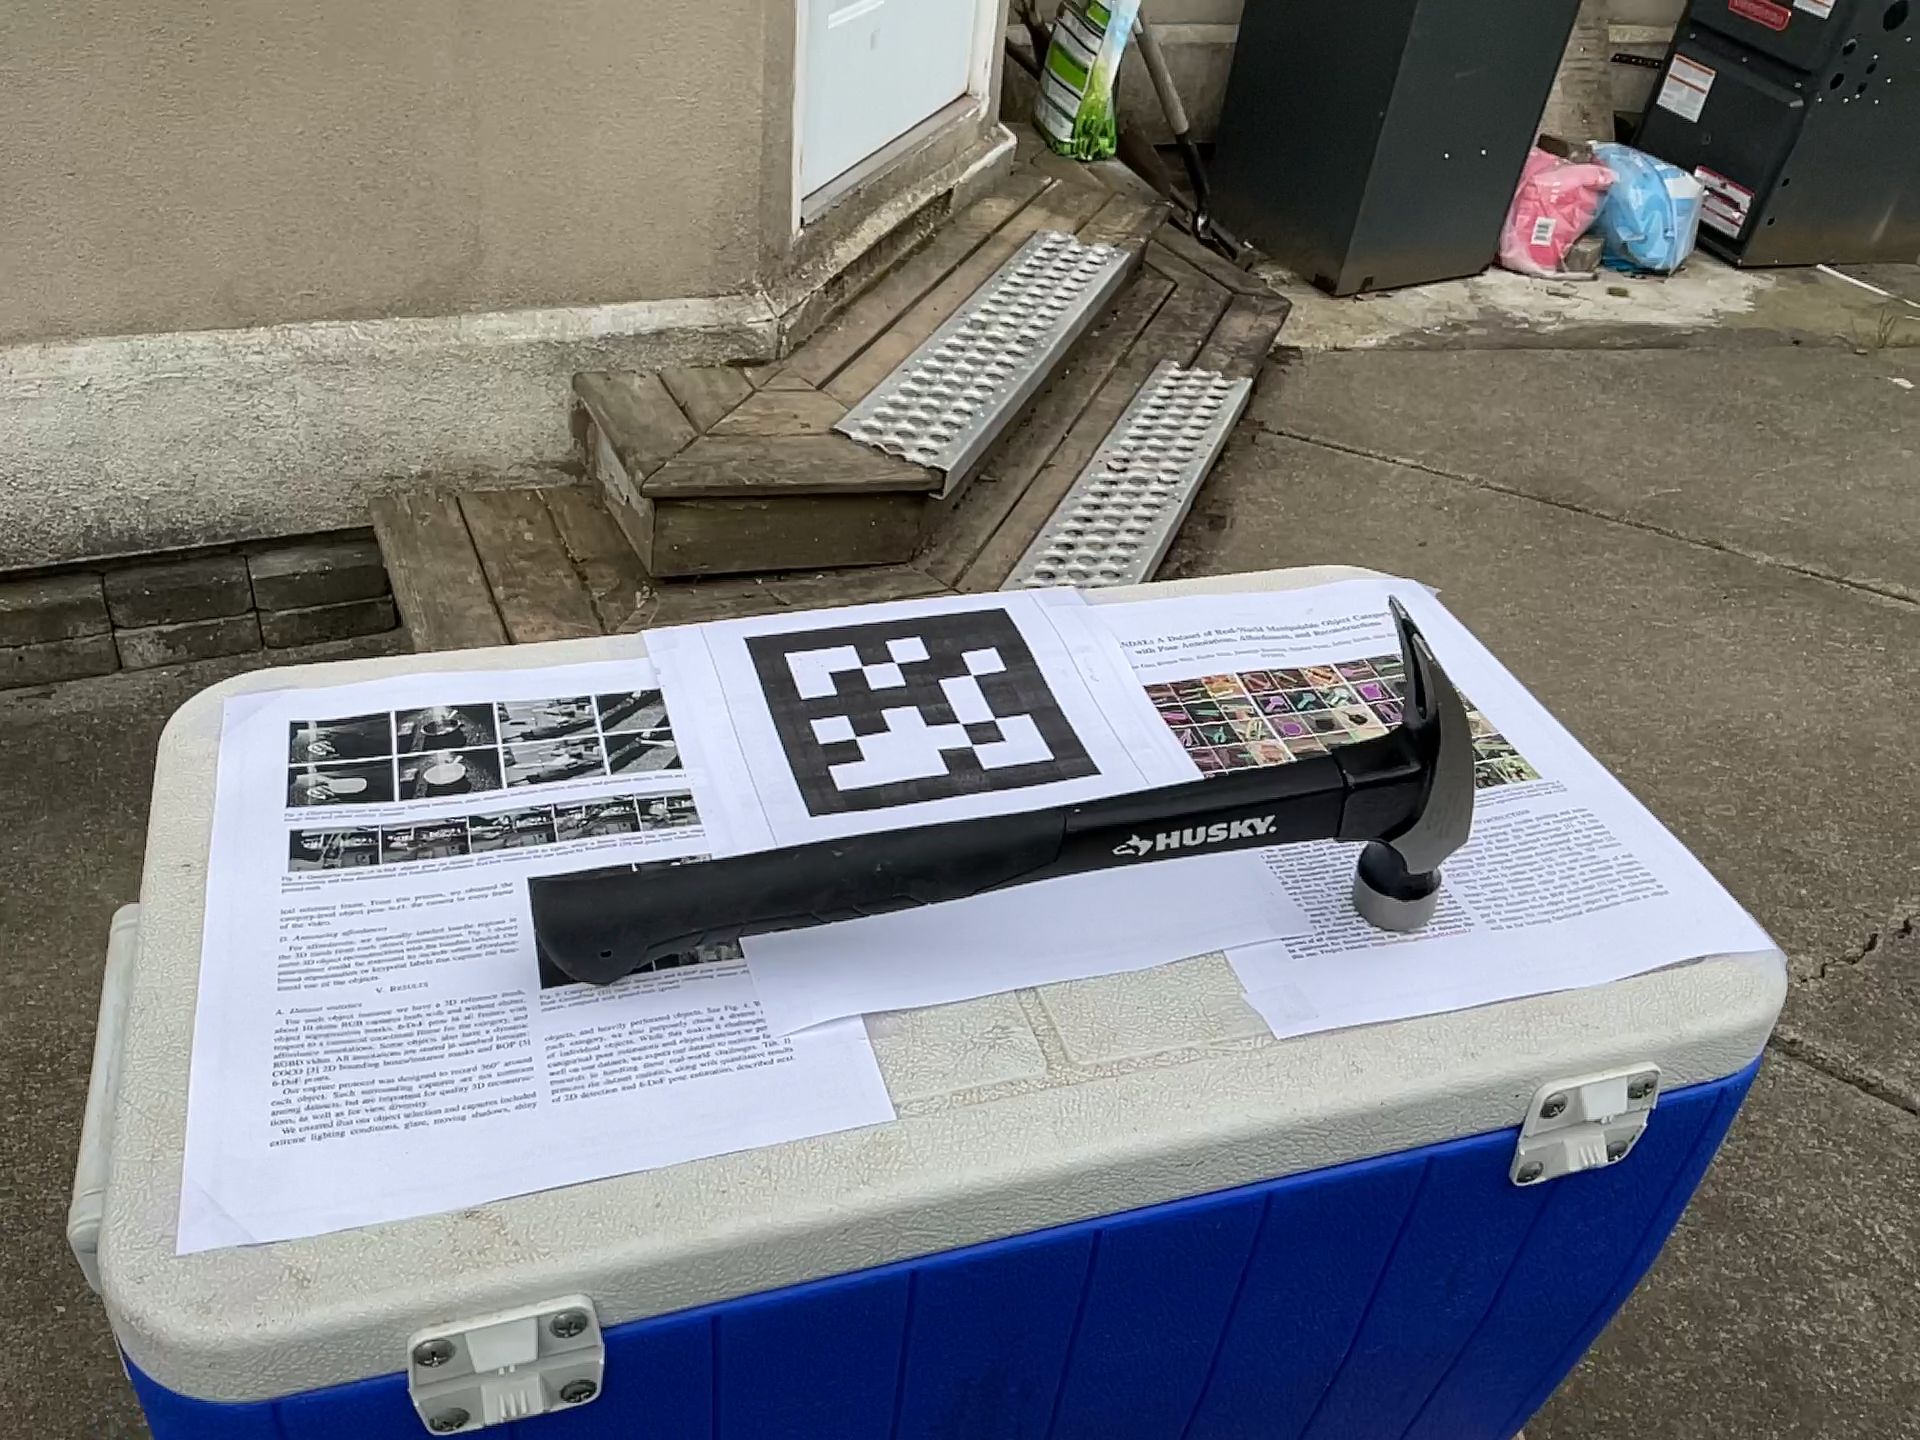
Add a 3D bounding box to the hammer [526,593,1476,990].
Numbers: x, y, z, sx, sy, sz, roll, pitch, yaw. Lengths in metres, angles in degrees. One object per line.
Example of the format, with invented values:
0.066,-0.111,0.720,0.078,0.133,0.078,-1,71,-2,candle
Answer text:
0.019,0.043,0.560,0.334,0.146,0.035,-9,43,-6,hammer
